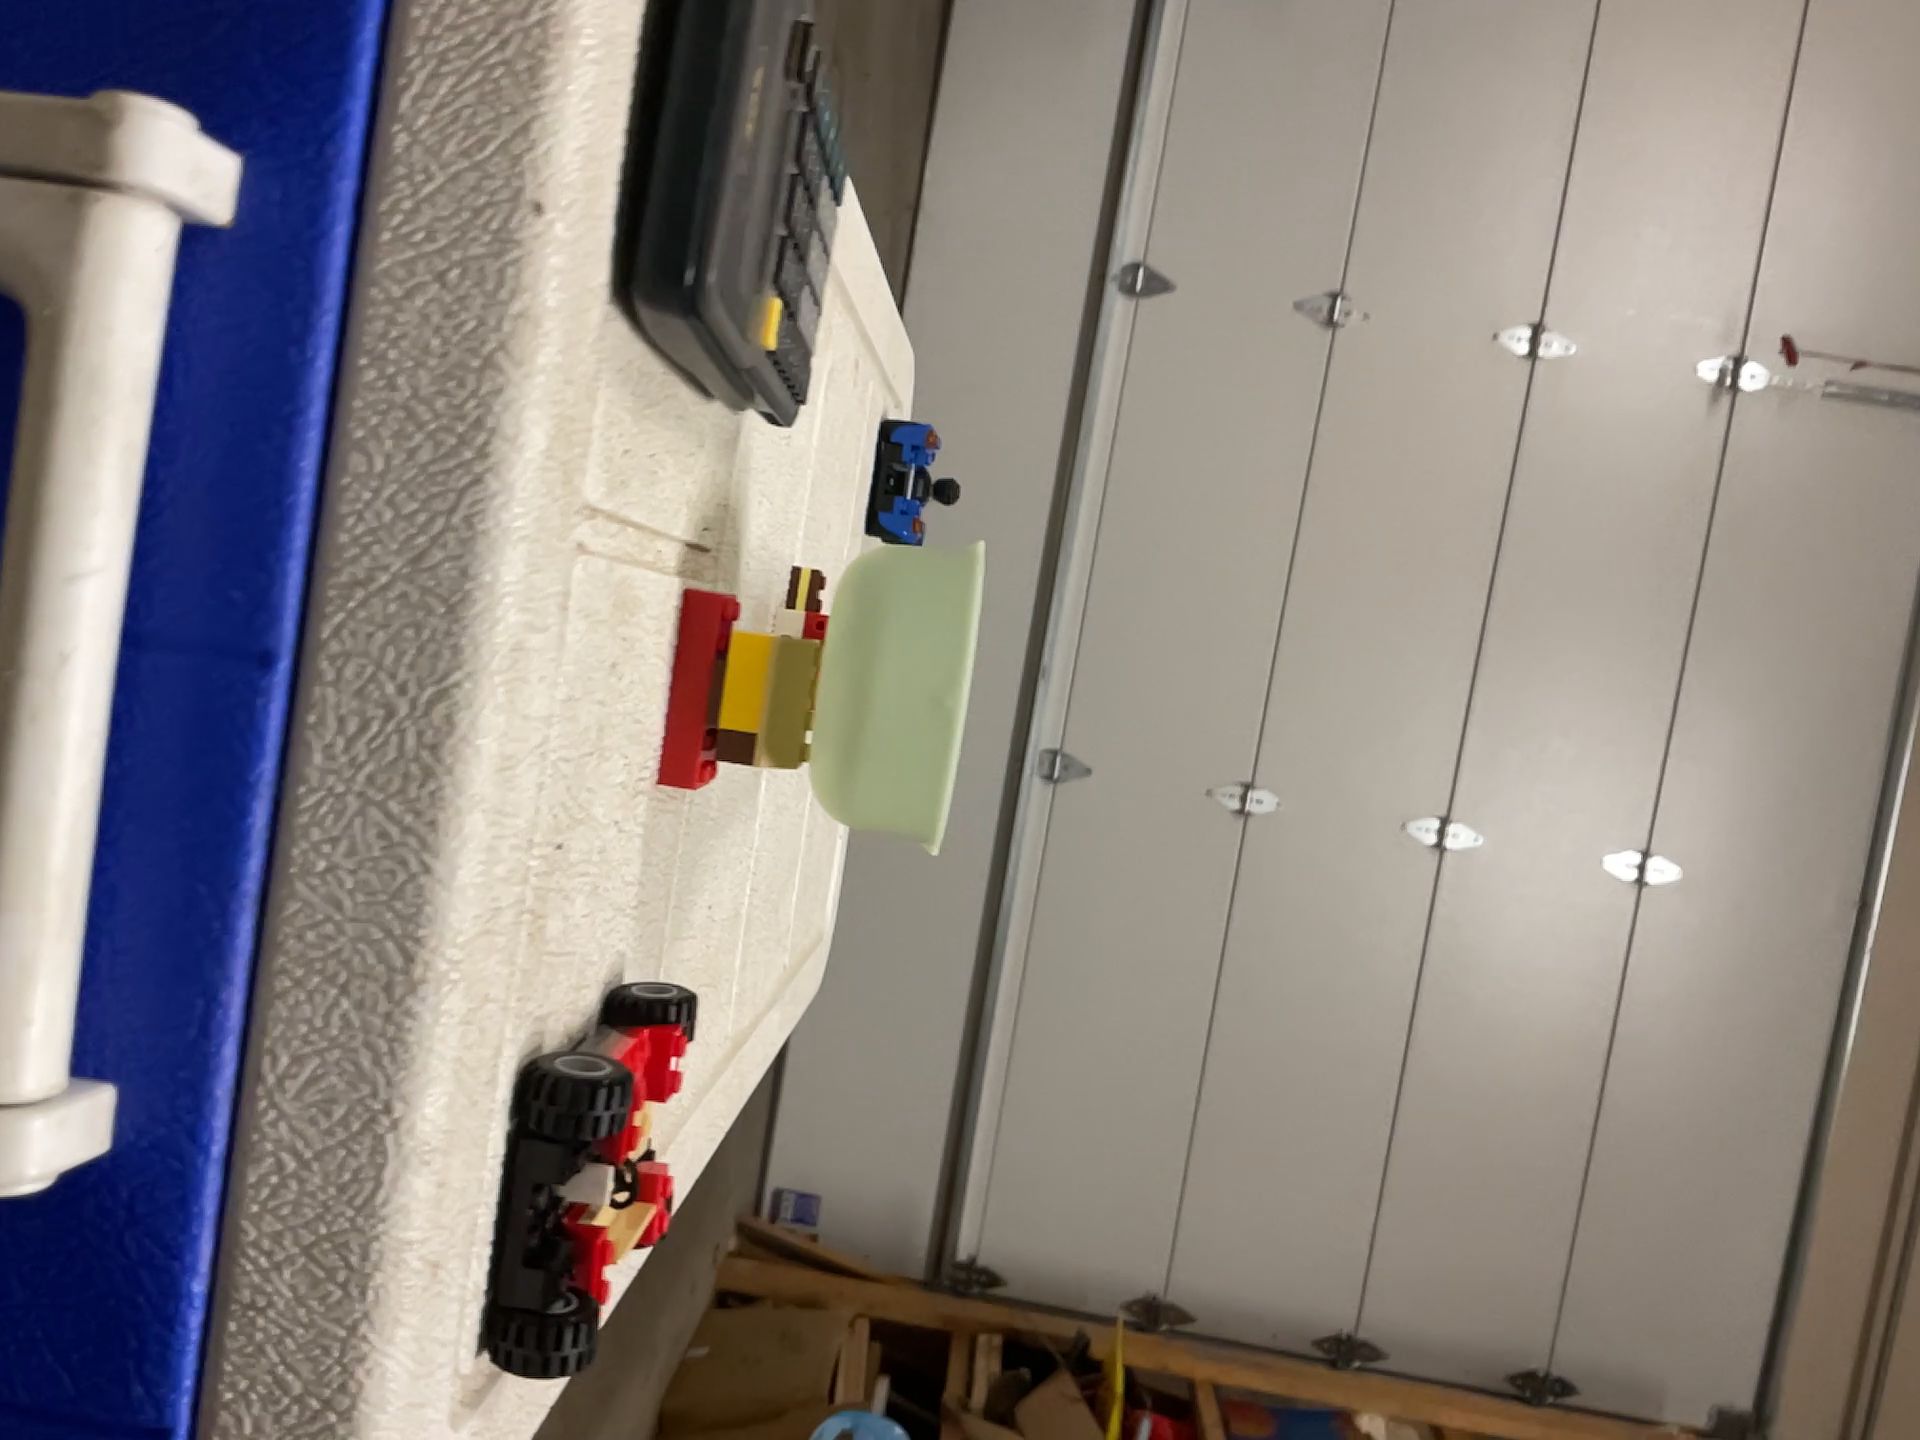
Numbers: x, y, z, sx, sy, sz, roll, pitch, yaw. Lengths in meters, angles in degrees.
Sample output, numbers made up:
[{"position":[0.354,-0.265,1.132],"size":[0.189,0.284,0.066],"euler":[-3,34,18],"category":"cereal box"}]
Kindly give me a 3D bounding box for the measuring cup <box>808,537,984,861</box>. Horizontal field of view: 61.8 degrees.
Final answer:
[{"position":[-0.020,-0.011,0.452],"size":[0.167,0.038,0.083],"euler":[-124,-138,-84],"category":"measuring cup"}]
